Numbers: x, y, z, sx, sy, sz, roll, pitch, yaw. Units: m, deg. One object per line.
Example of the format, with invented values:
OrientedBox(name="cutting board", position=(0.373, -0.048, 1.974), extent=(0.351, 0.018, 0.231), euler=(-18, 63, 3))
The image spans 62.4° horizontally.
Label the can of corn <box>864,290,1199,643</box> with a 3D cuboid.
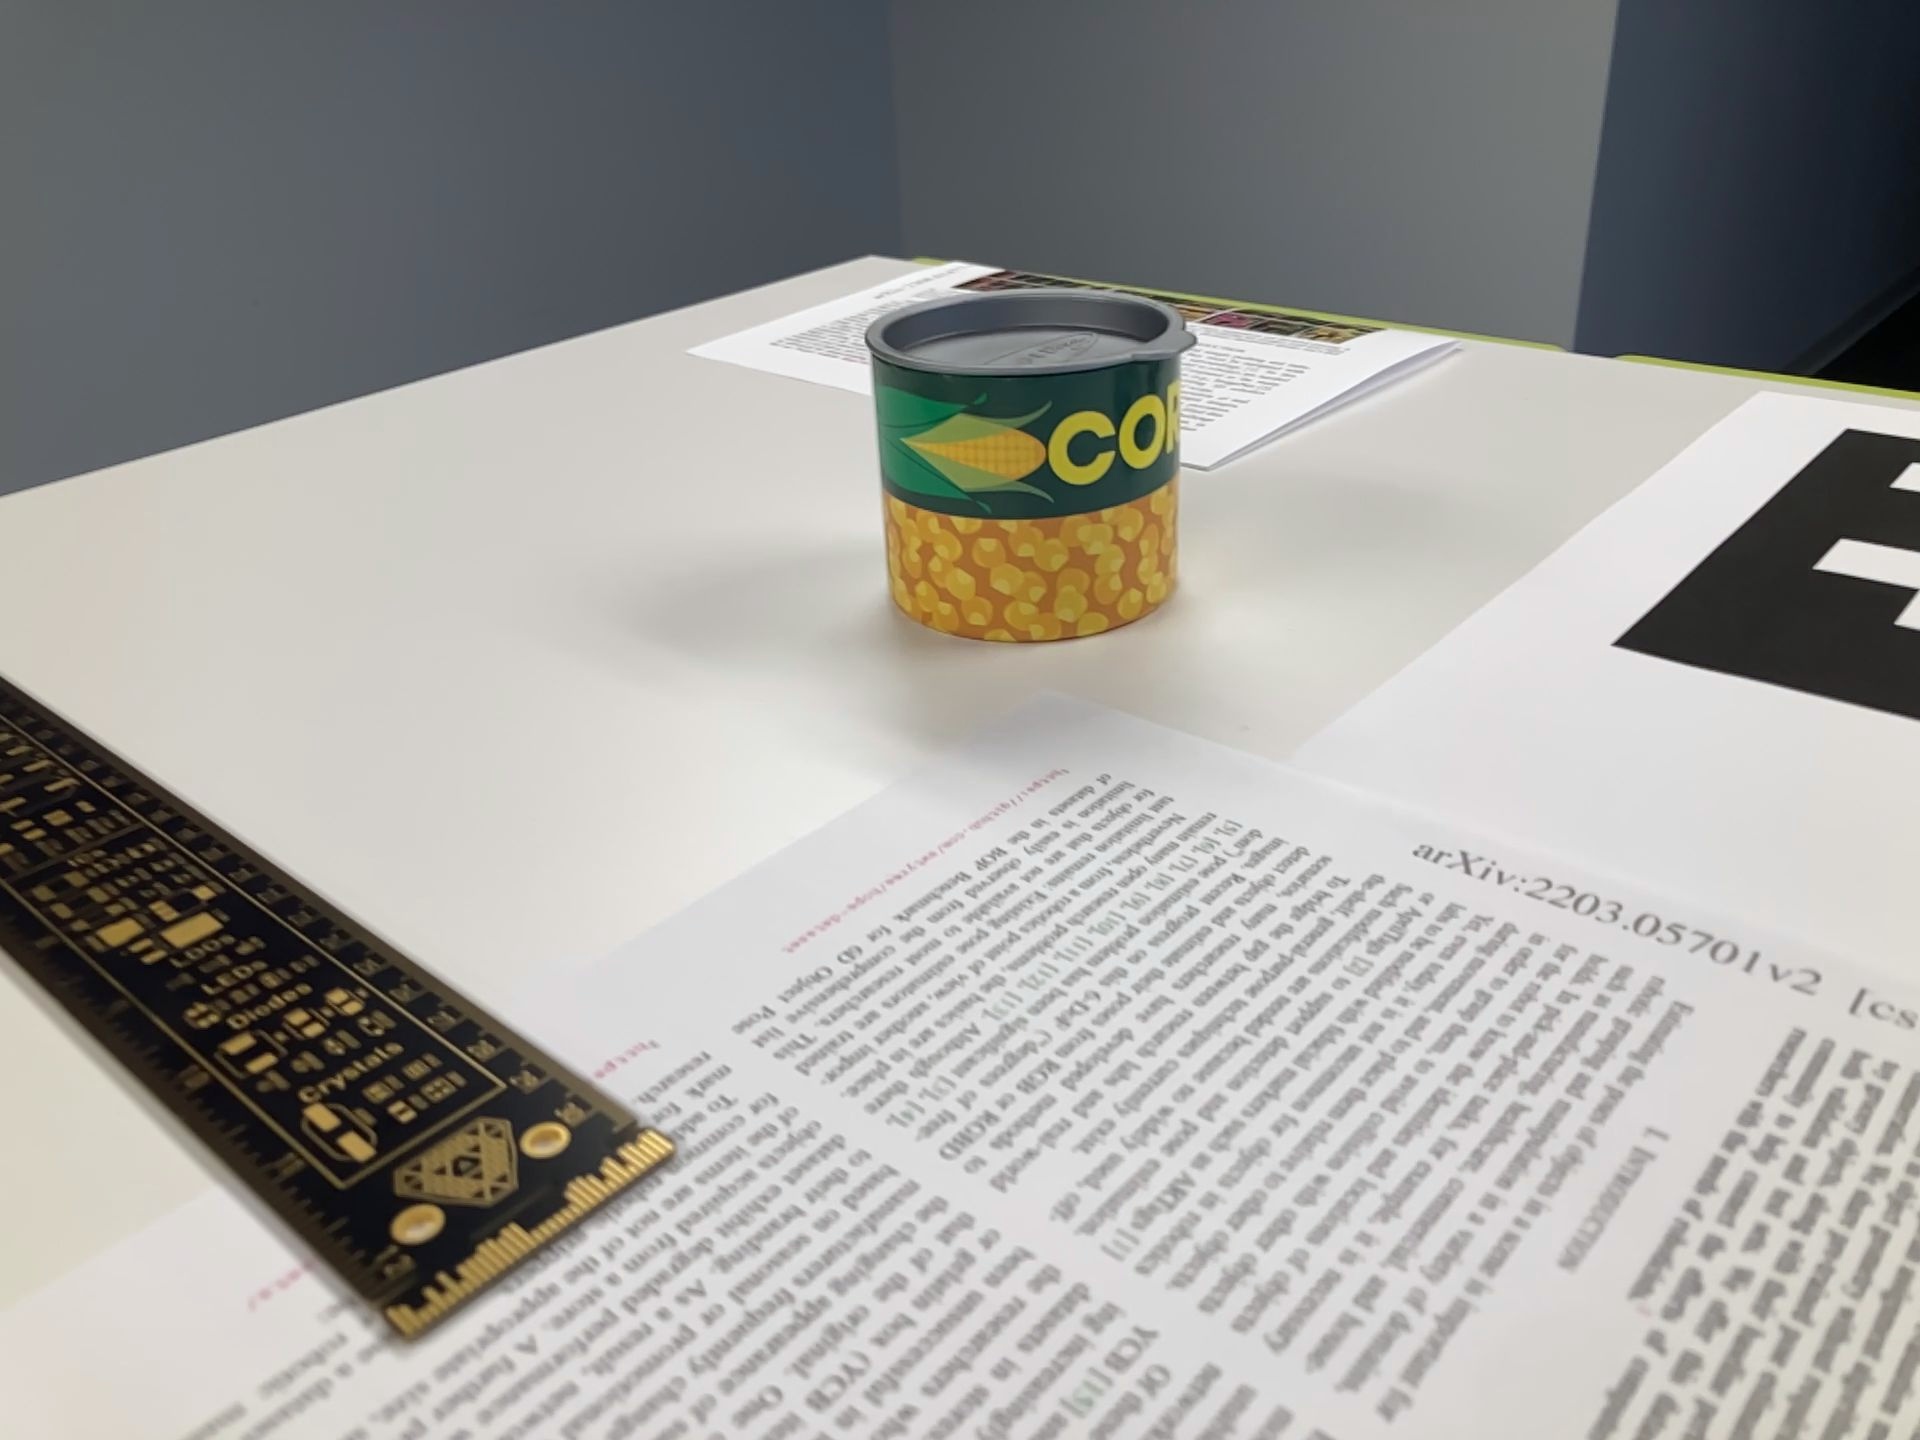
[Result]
OrientedBox(name="can of corn", position=(0.016, -0.055, 0.339), extent=(0.071, 0.058, 0.071), euler=(-2, 27, 1))
